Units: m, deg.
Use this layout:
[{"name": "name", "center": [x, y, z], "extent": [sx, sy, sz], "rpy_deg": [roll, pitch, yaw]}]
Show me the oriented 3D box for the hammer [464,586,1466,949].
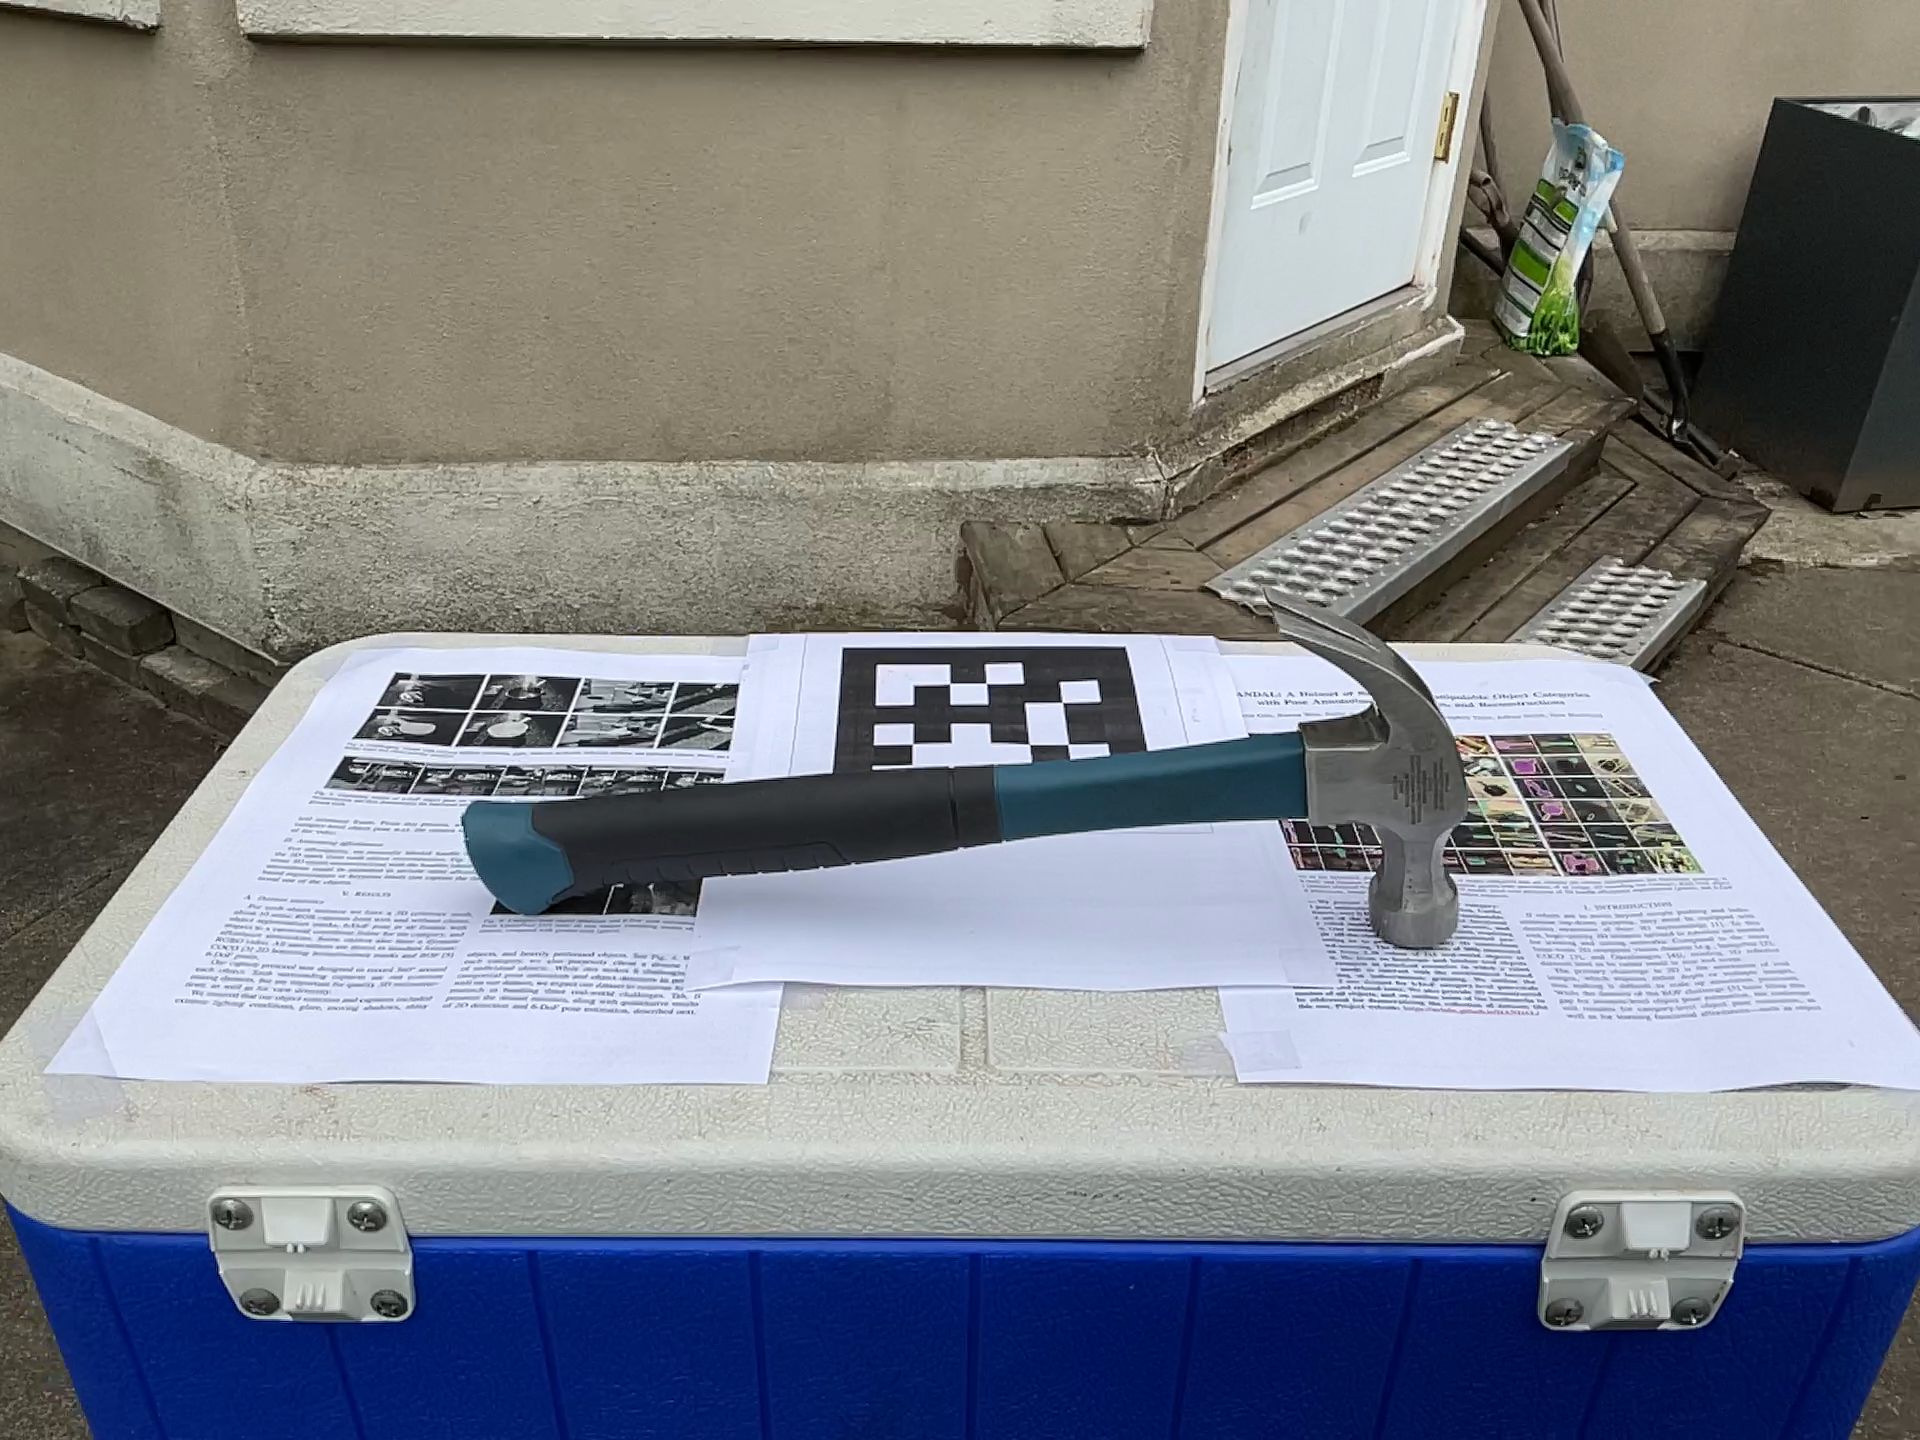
[{"name": "hammer", "center": [0.000, 0.031, 0.534], "extent": [0.331, 0.128, 0.033], "rpy_deg": [-6, 27, 4]}]
